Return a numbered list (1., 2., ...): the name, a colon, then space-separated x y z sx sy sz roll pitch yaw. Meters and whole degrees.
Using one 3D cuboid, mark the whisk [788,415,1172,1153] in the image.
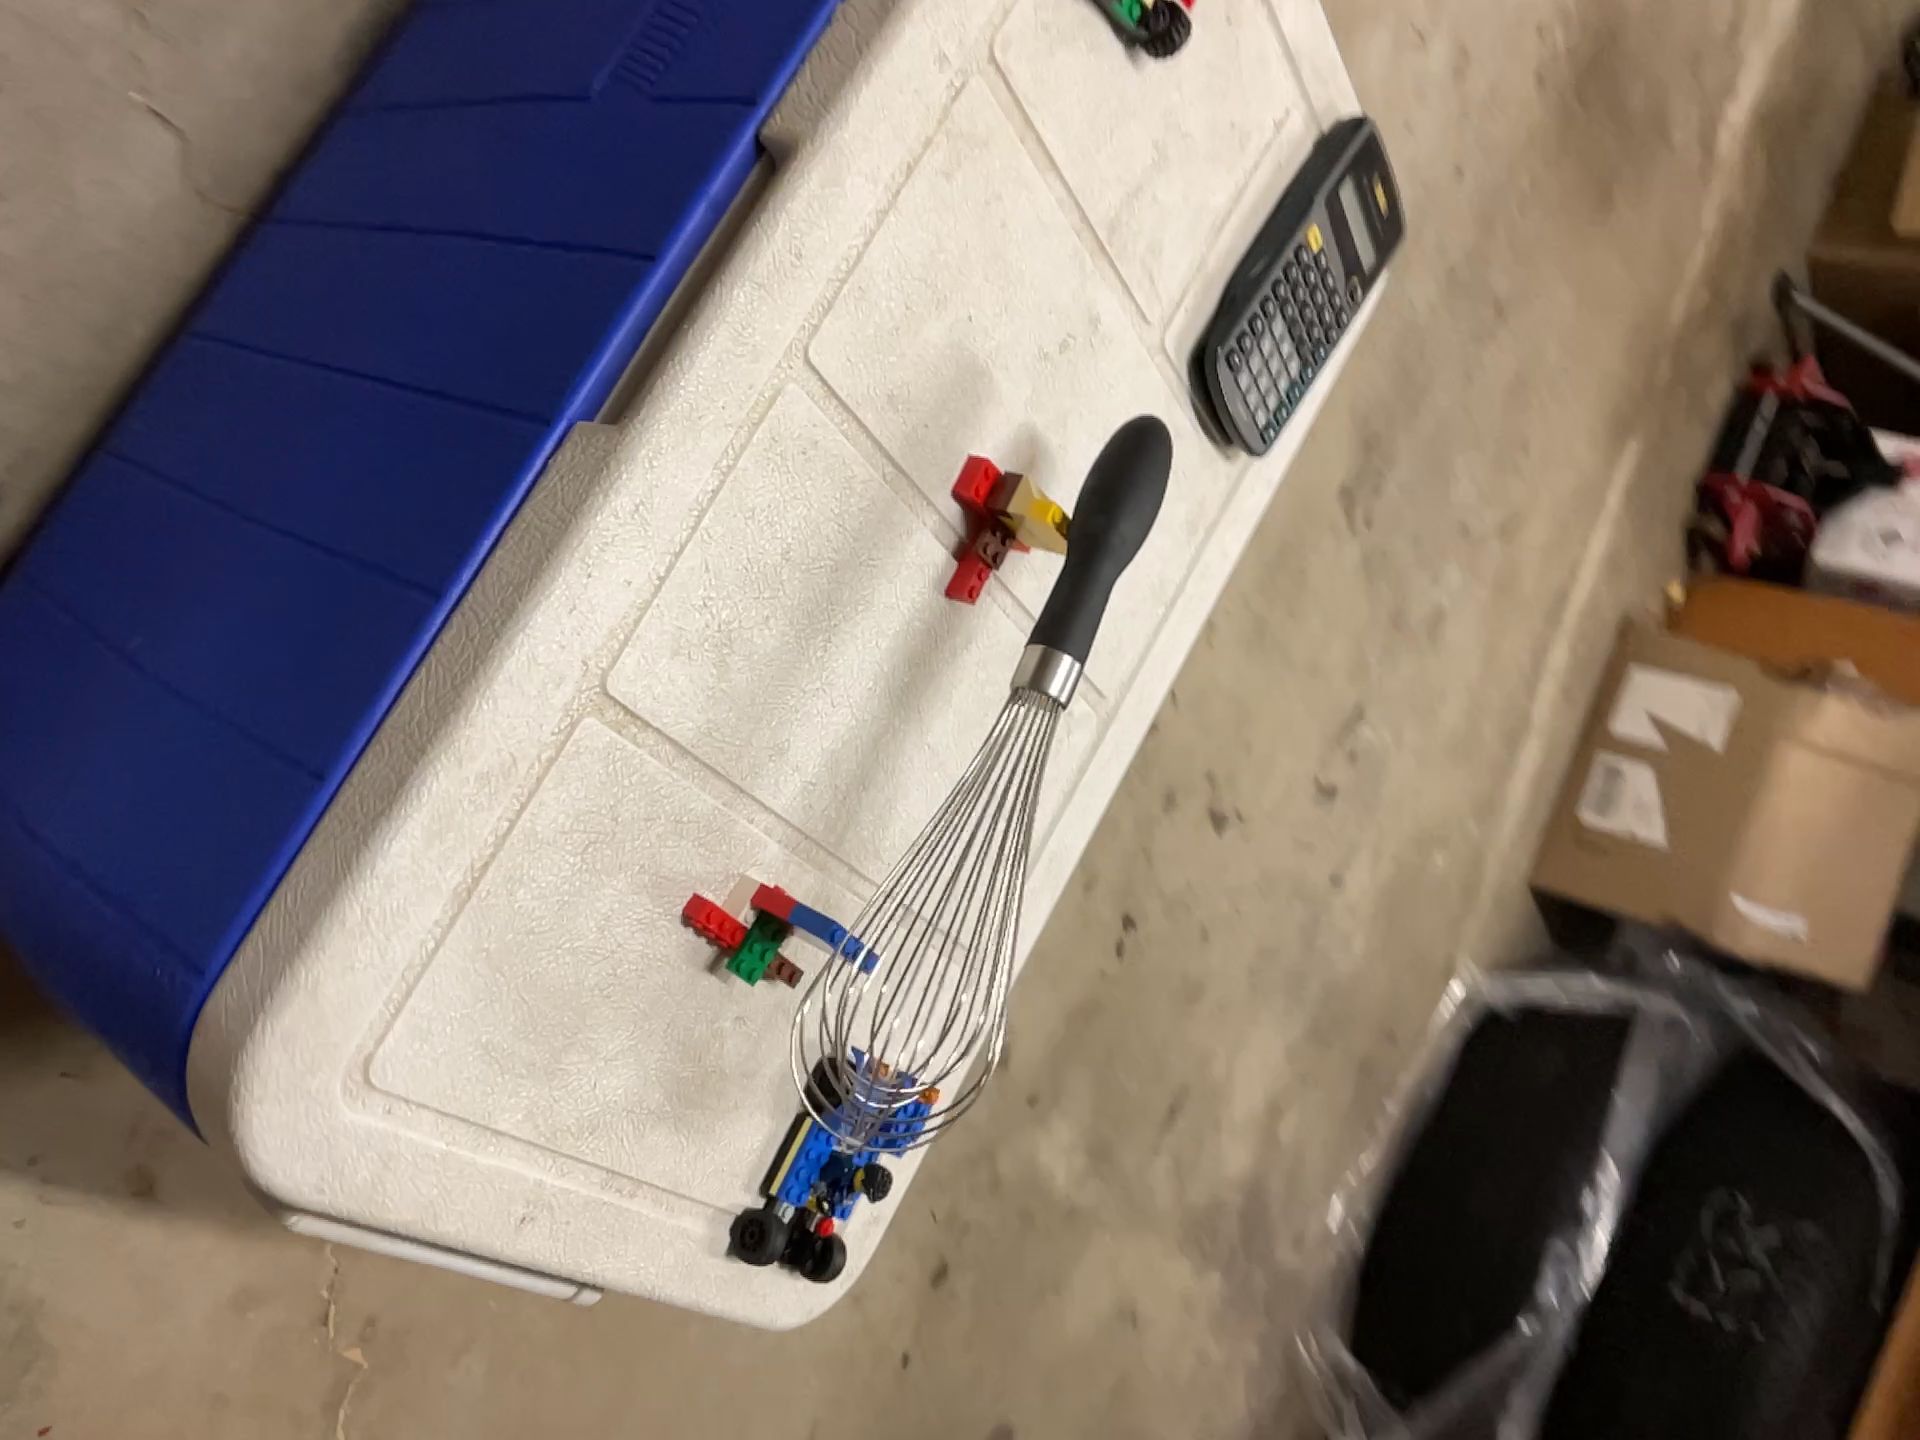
1. whisk: 0.018 0.014 0.558 0.070 0.070 0.285 39 68 -46
